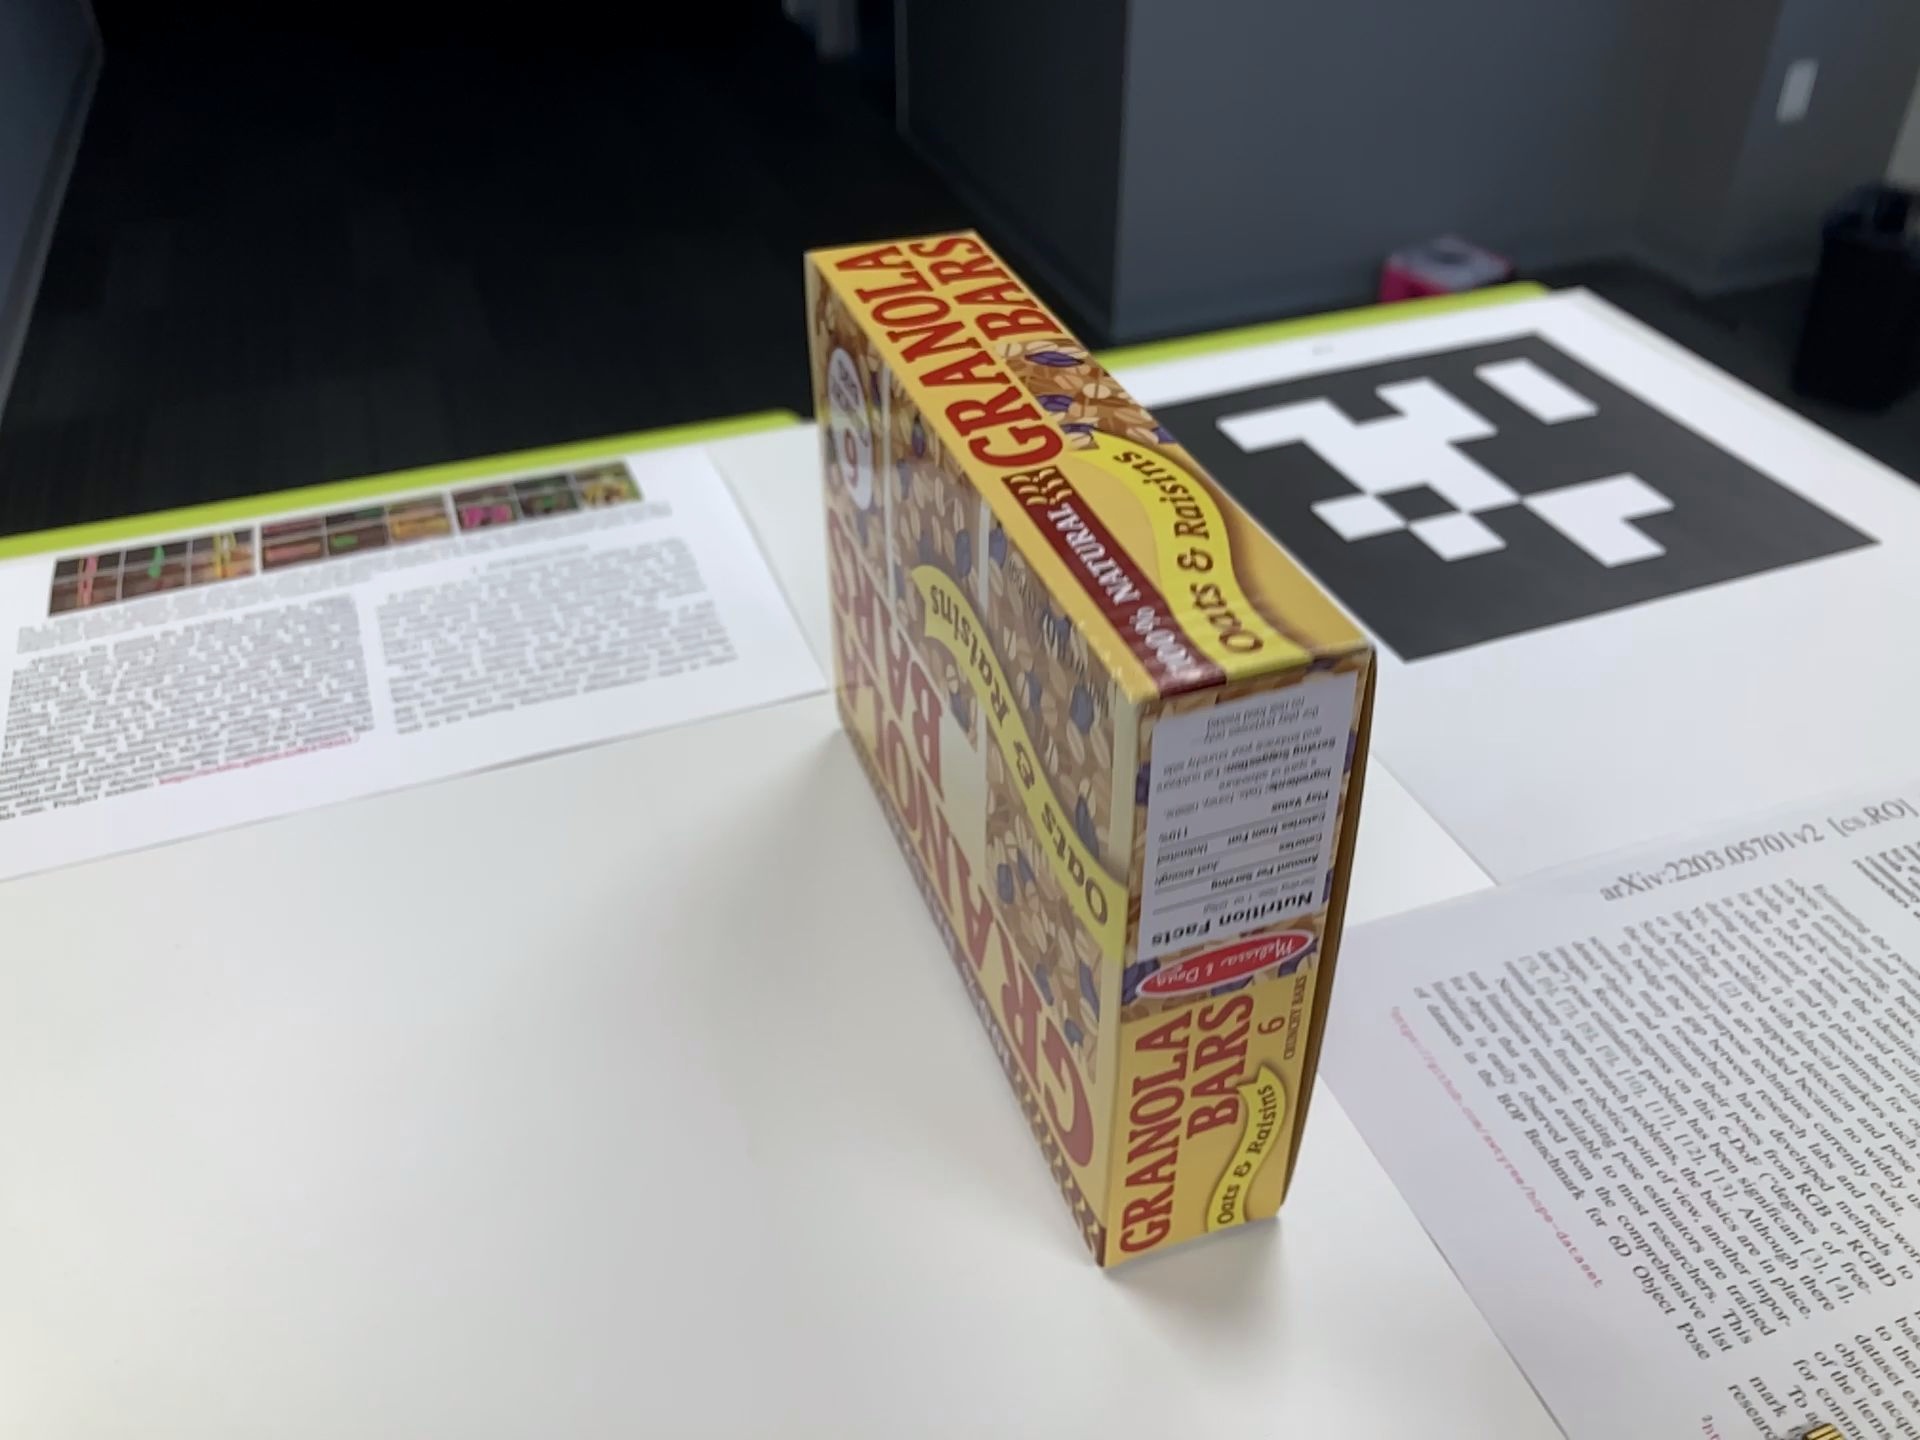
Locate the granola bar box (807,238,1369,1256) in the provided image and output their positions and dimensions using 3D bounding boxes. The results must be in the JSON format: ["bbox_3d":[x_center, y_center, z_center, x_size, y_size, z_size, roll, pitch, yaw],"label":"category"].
[{"bbox_3d":[0.013,-0.004,0.309,0.039,0.124,0.165,-12,39,-15],"label":"granola bar box"}]
